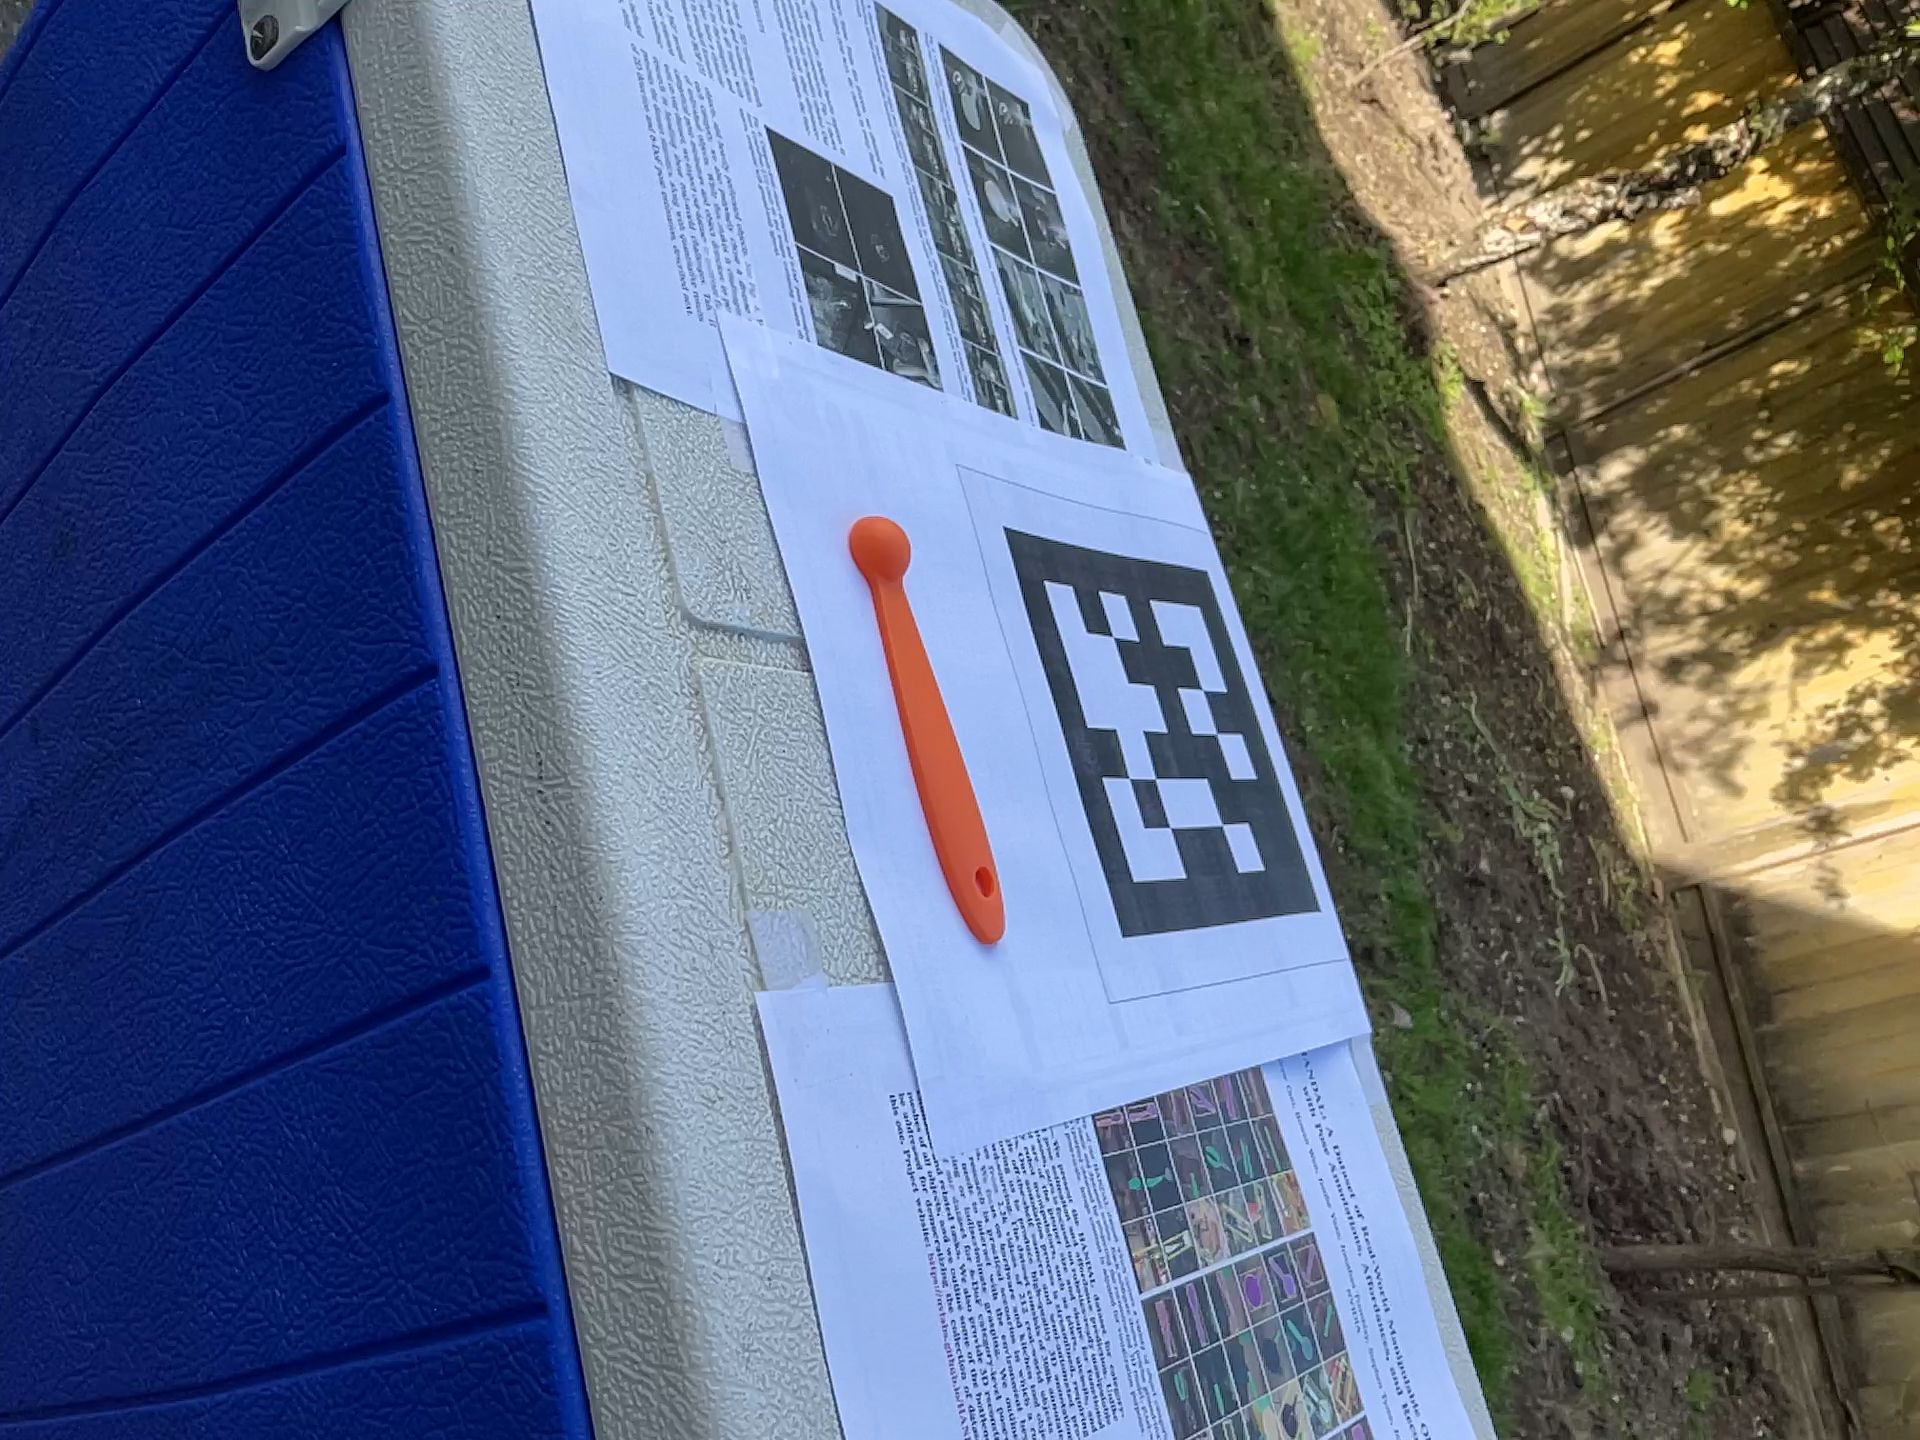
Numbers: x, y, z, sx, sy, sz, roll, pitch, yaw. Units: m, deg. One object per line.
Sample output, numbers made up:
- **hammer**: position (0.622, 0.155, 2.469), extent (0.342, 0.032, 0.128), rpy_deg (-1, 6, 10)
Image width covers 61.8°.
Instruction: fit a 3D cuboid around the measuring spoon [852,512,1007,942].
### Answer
- **measuring spoon**: position (-0.005, -0.001, 0.412), extent (0.021, 0.011, 0.117), rpy_deg (-2, 72, -51)
